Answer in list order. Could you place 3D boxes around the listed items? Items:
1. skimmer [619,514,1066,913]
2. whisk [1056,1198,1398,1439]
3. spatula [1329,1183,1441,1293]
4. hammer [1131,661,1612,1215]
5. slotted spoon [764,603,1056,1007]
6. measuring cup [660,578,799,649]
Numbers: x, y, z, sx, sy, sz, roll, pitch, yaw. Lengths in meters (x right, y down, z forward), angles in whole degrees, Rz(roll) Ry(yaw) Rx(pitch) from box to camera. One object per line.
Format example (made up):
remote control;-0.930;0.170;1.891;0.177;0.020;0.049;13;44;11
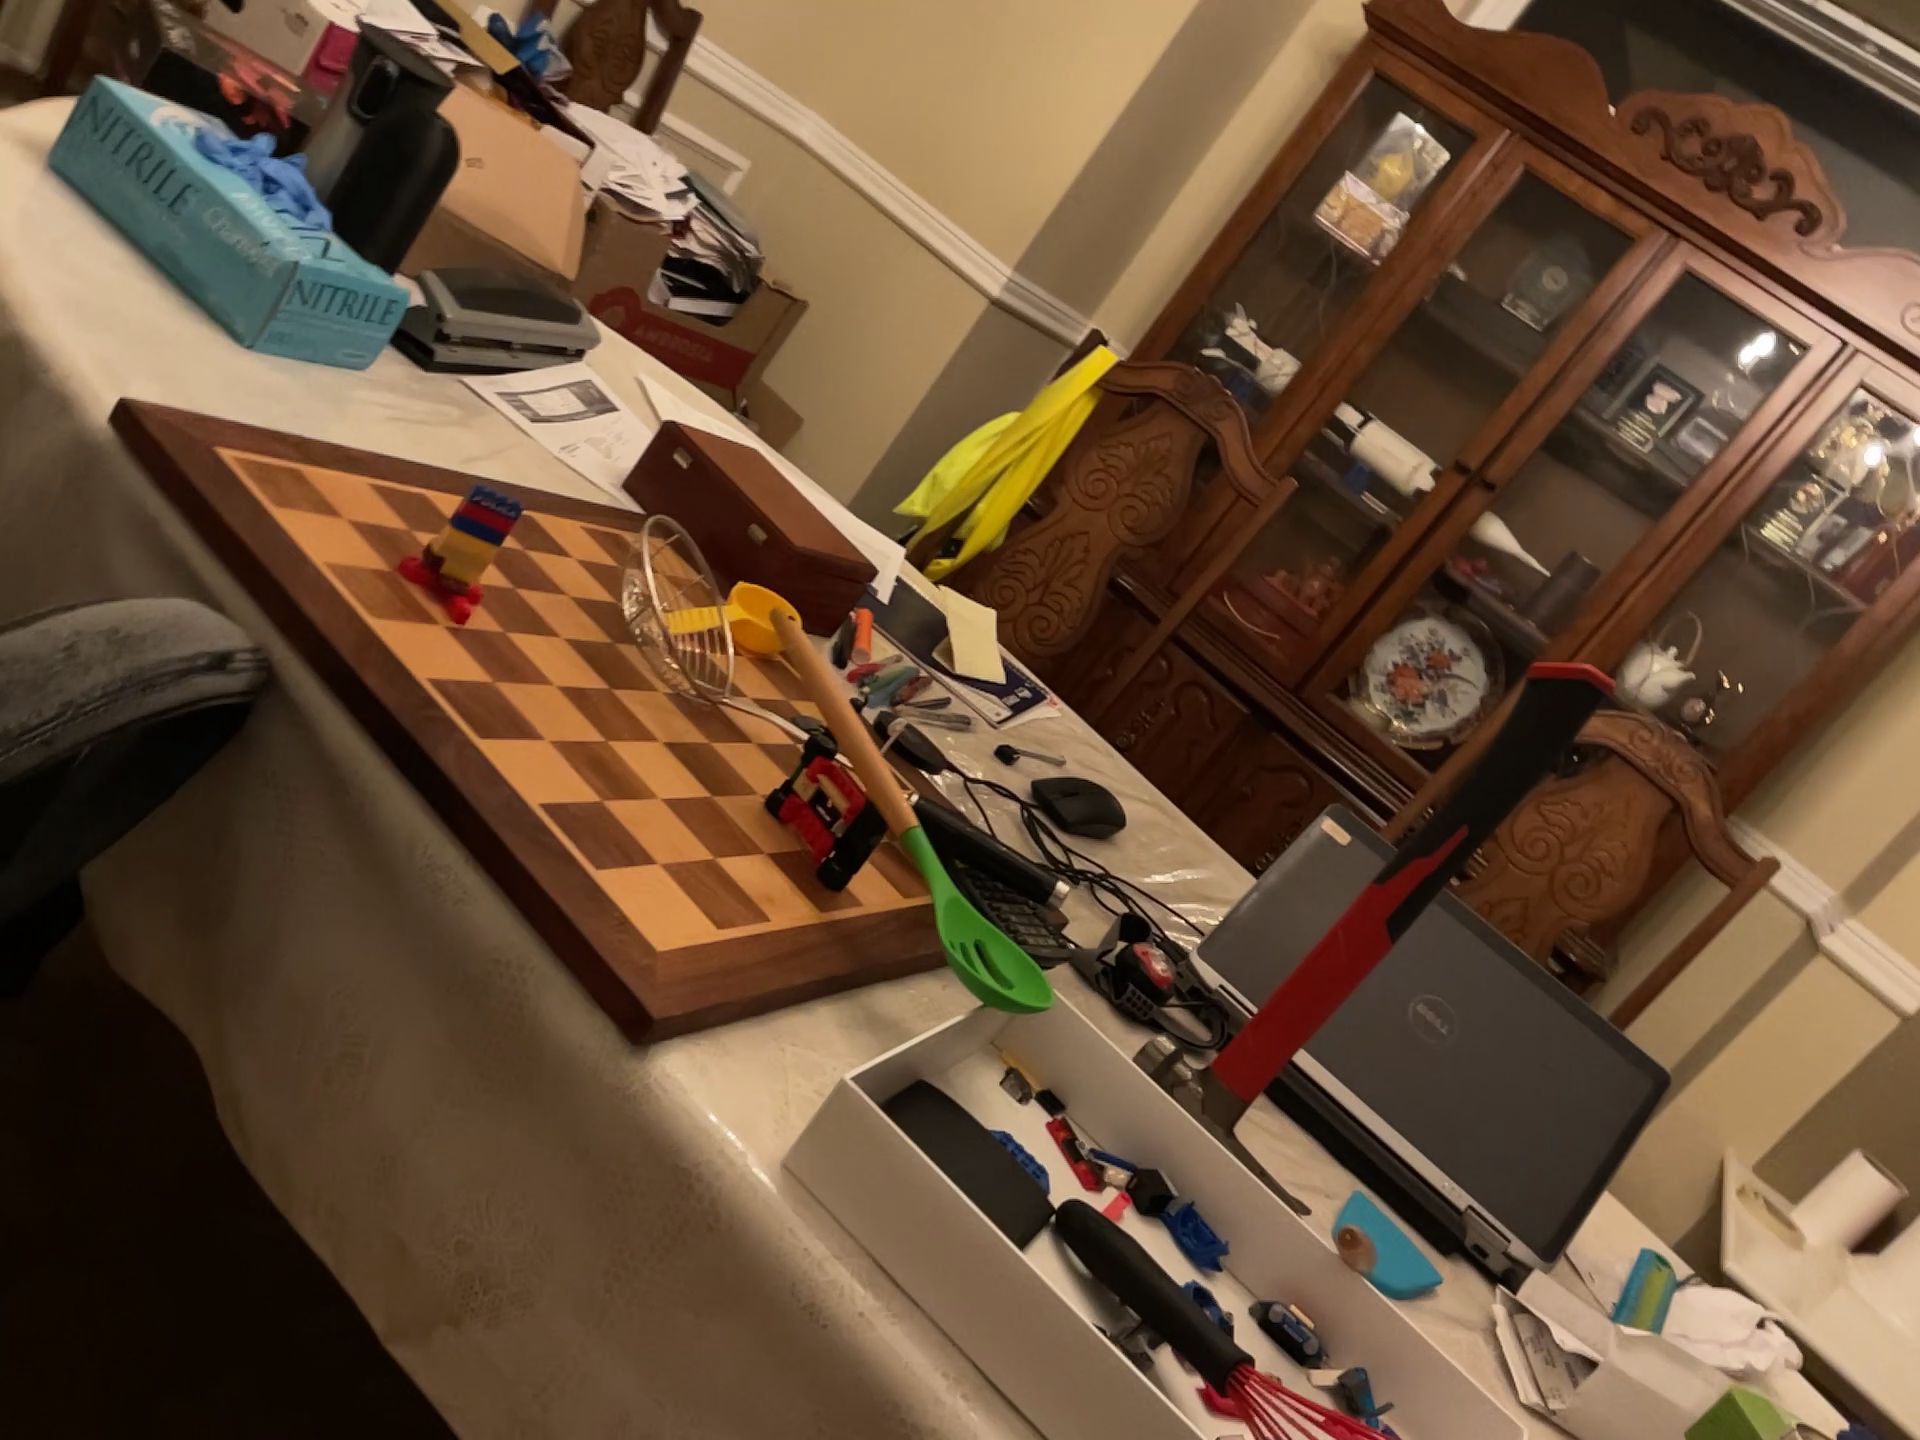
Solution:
skimmer;-0.071;-0.001;1.050;0.363;0.090;0.127;33;14;-1
whisk;0.137;0.310;0.720;0.296;0.073;0.073;34;-10;48
spatula;0.242;0.306;0.942;0.082;0.044;0.317;46;-3;26
hammer;0.271;0.128;0.979;0.143;0.386;0.038;44;17;23
slotted spoon;-0.041;0.045;0.933;0.070;0.031;0.314;11;39;-54
measuring cup;-0.181;-0.071;1.173;0.062;0.029;0.156;46;30;19
